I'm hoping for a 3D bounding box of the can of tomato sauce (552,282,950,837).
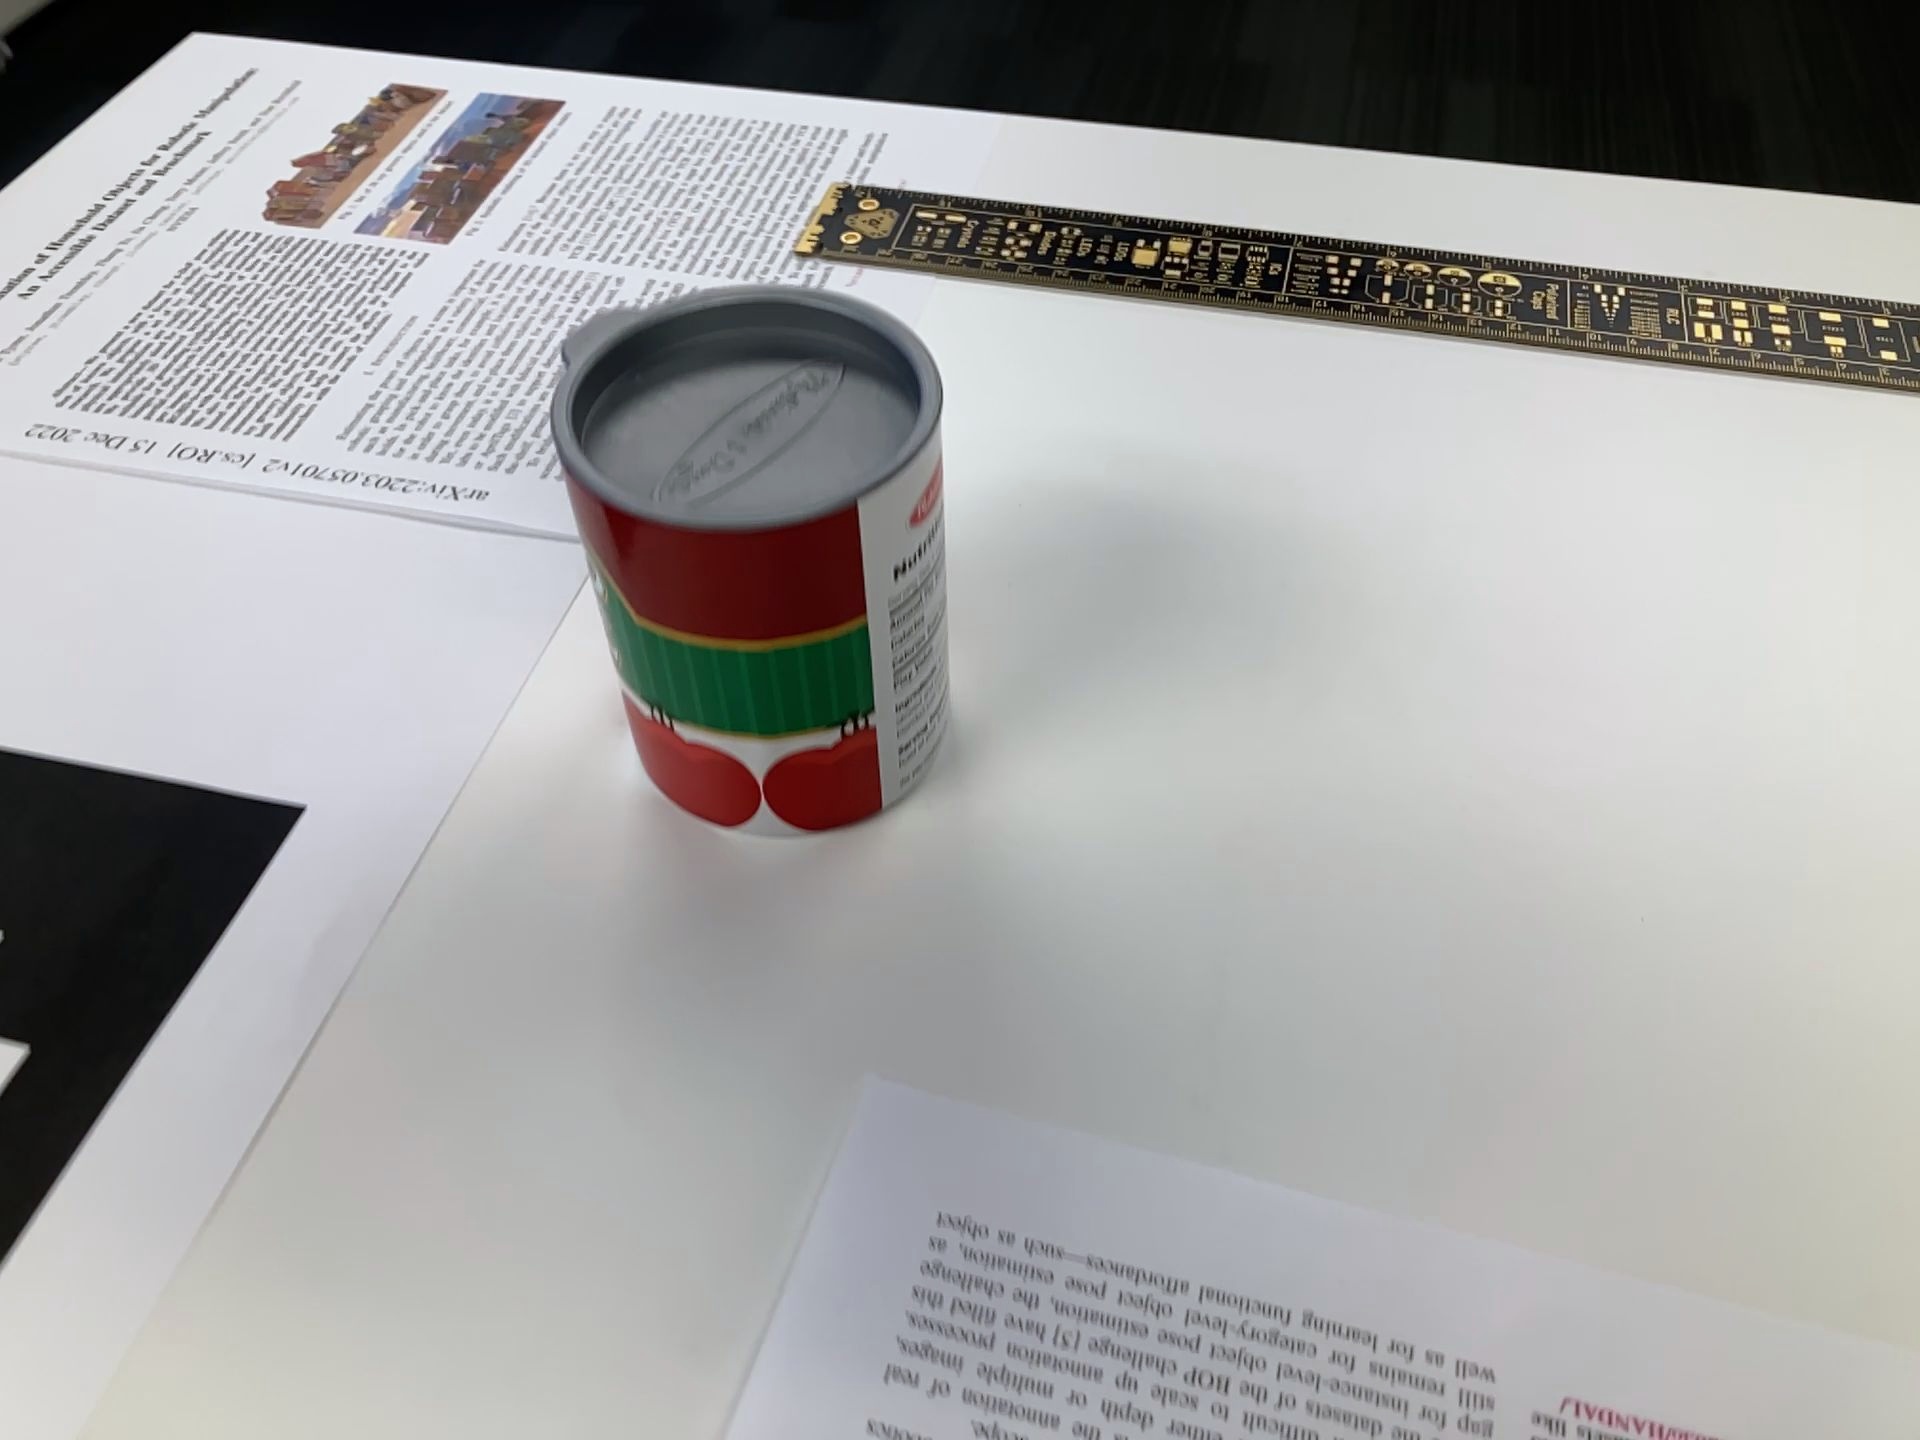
[{"bbox_3d":[-0.037,-0.029,0.300,0.071,0.083,0.071,-1,47,1],"label":"can of tomato sauce"}]
